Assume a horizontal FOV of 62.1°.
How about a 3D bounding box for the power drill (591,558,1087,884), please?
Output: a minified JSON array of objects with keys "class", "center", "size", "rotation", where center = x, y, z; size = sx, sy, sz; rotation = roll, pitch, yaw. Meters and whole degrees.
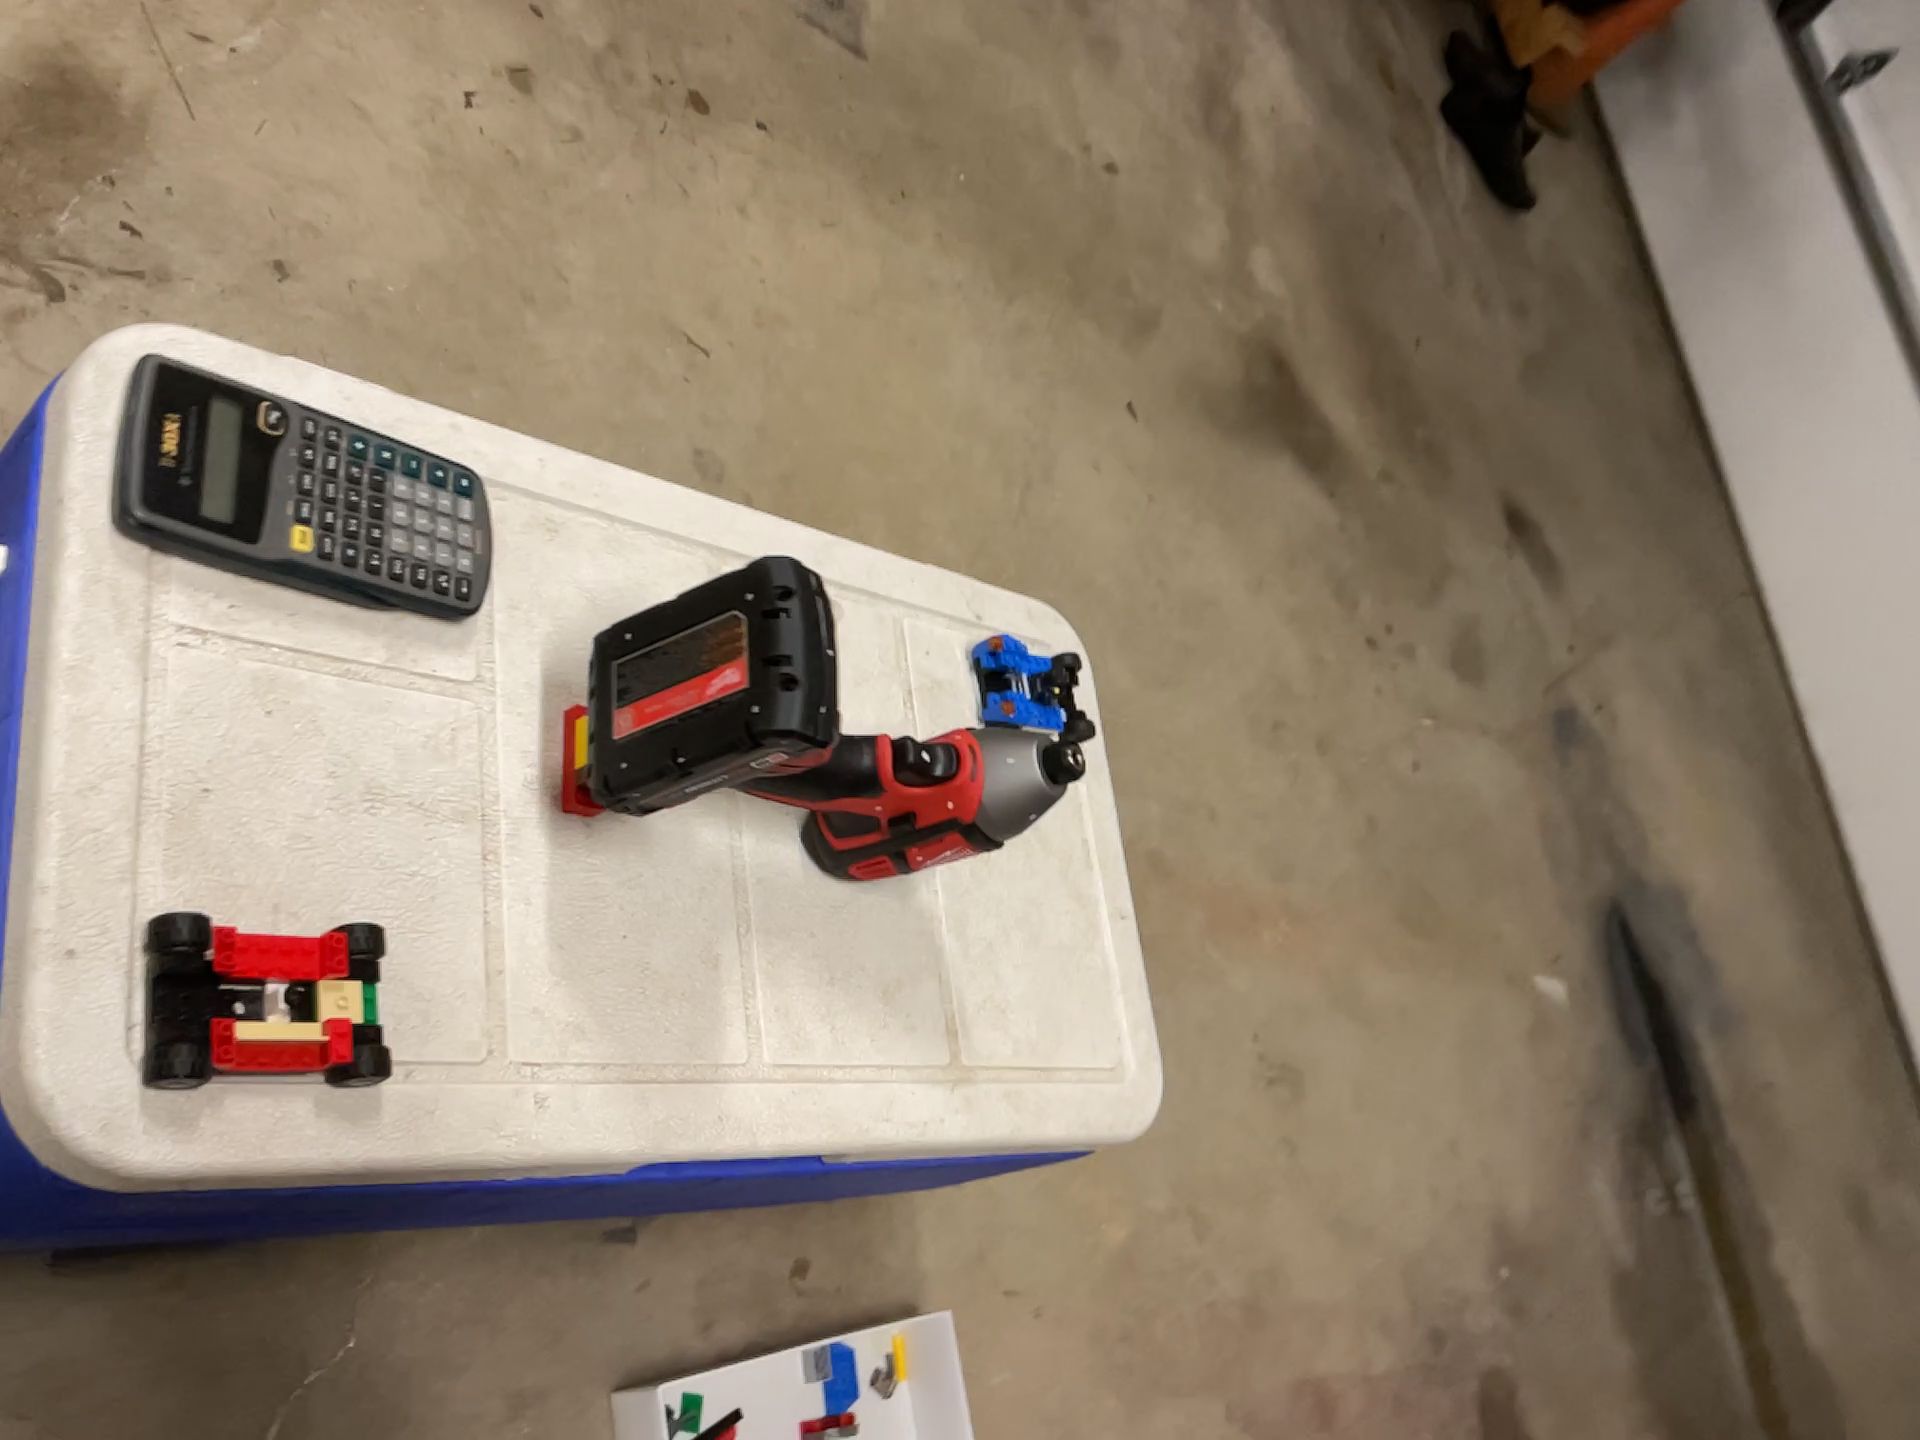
[{"class":"power drill","center":[-0.047,0.013,0.716],"size":[0.219,0.143,0.079],"rotation":[30,49,-52]}]
